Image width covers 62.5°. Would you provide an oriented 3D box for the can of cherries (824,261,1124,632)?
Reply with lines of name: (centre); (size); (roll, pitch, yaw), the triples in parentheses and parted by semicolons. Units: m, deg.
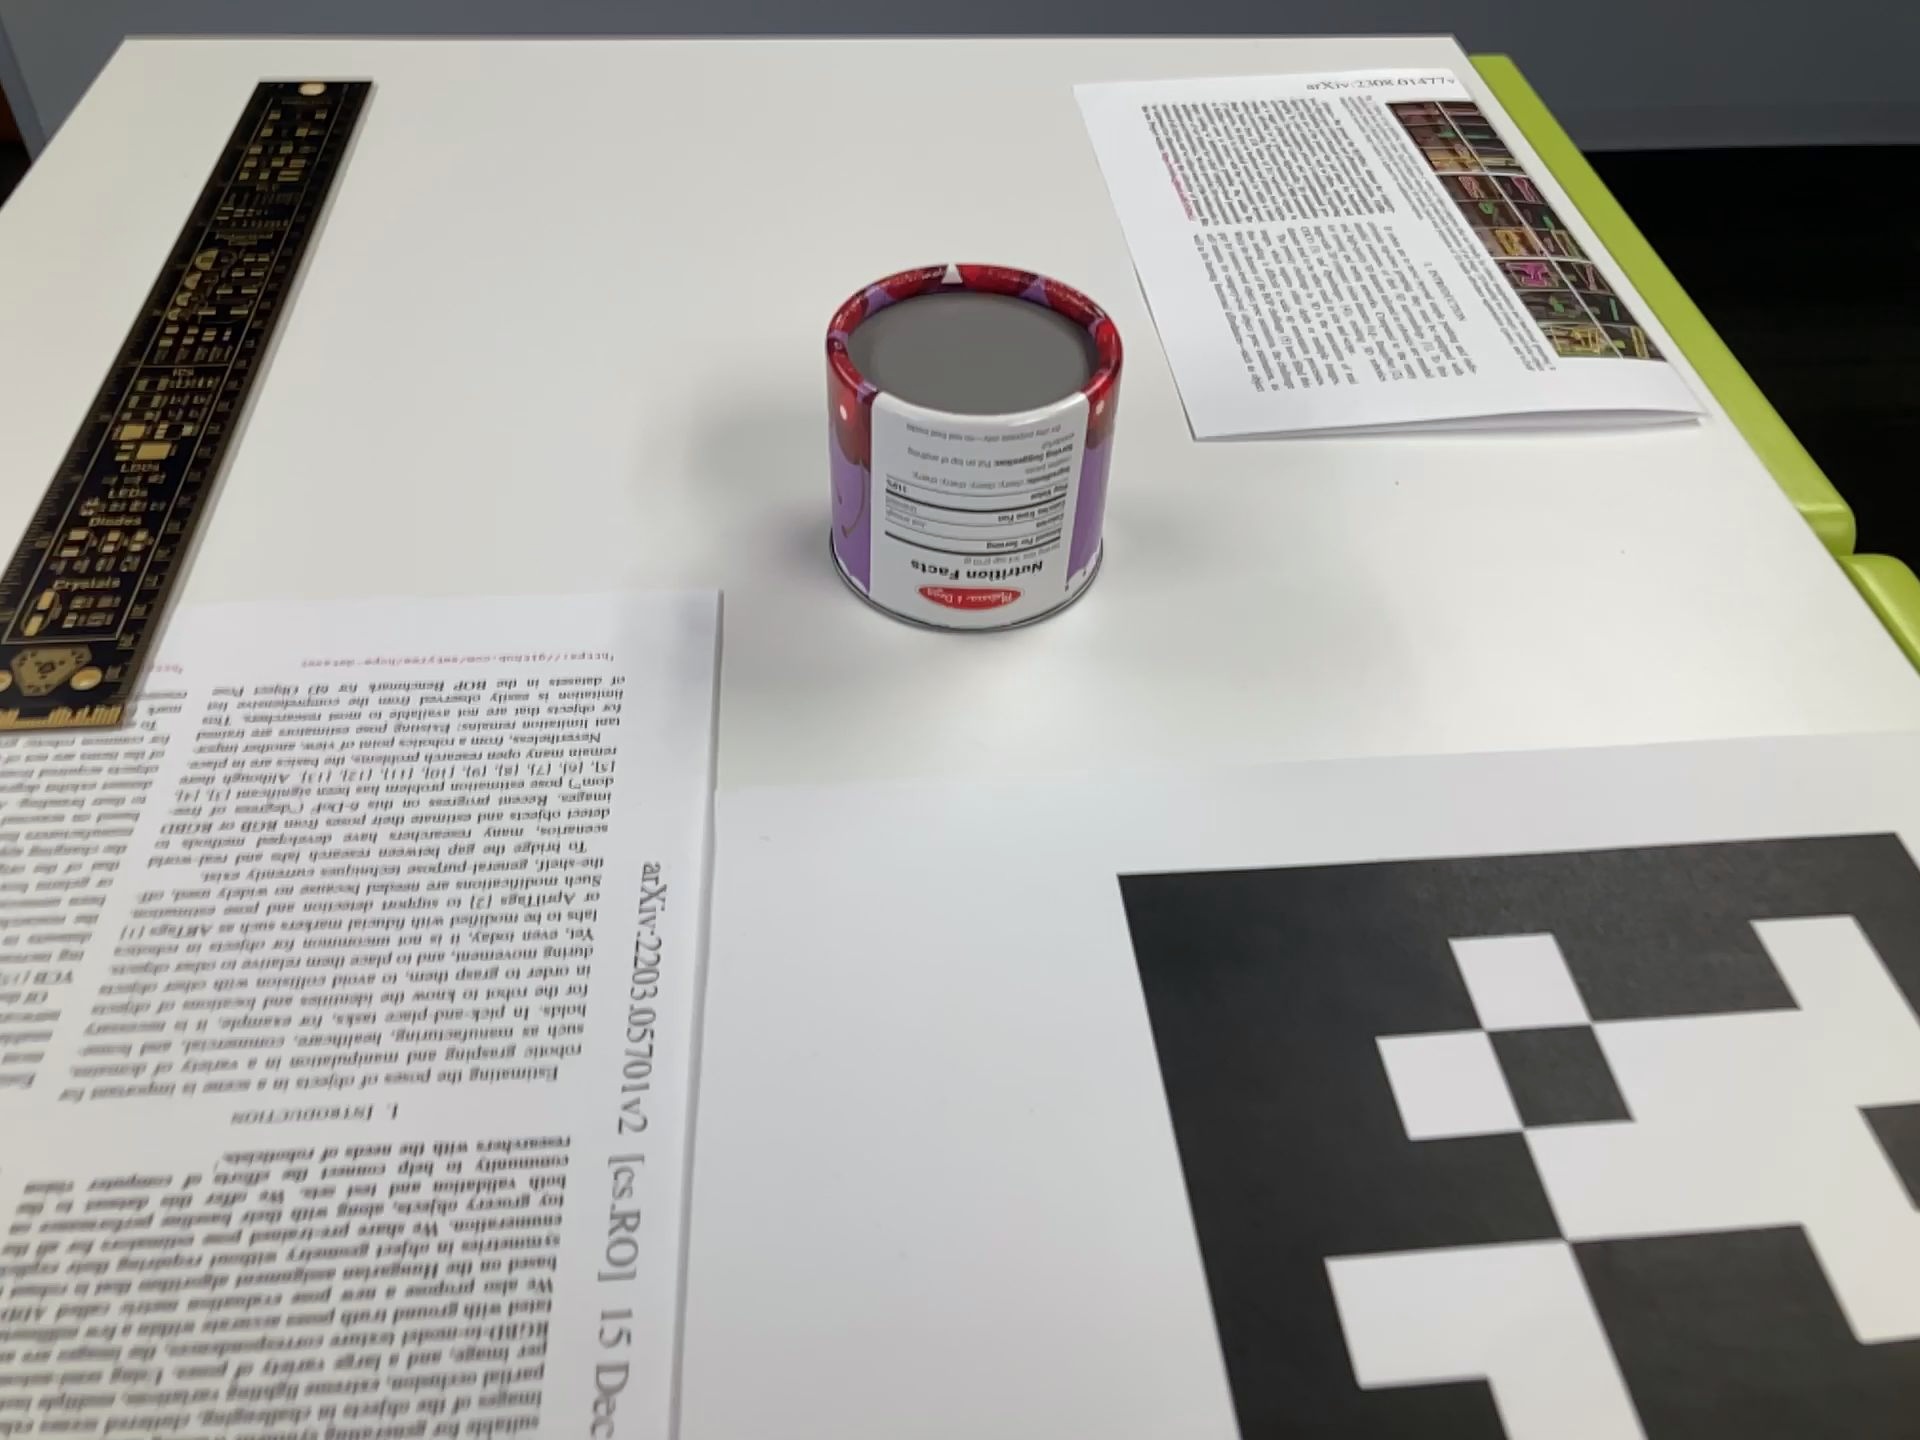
can of cherries: (0.002, -0.065, 0.363); (0.071, 0.058, 0.071); (1, 45, -1)
